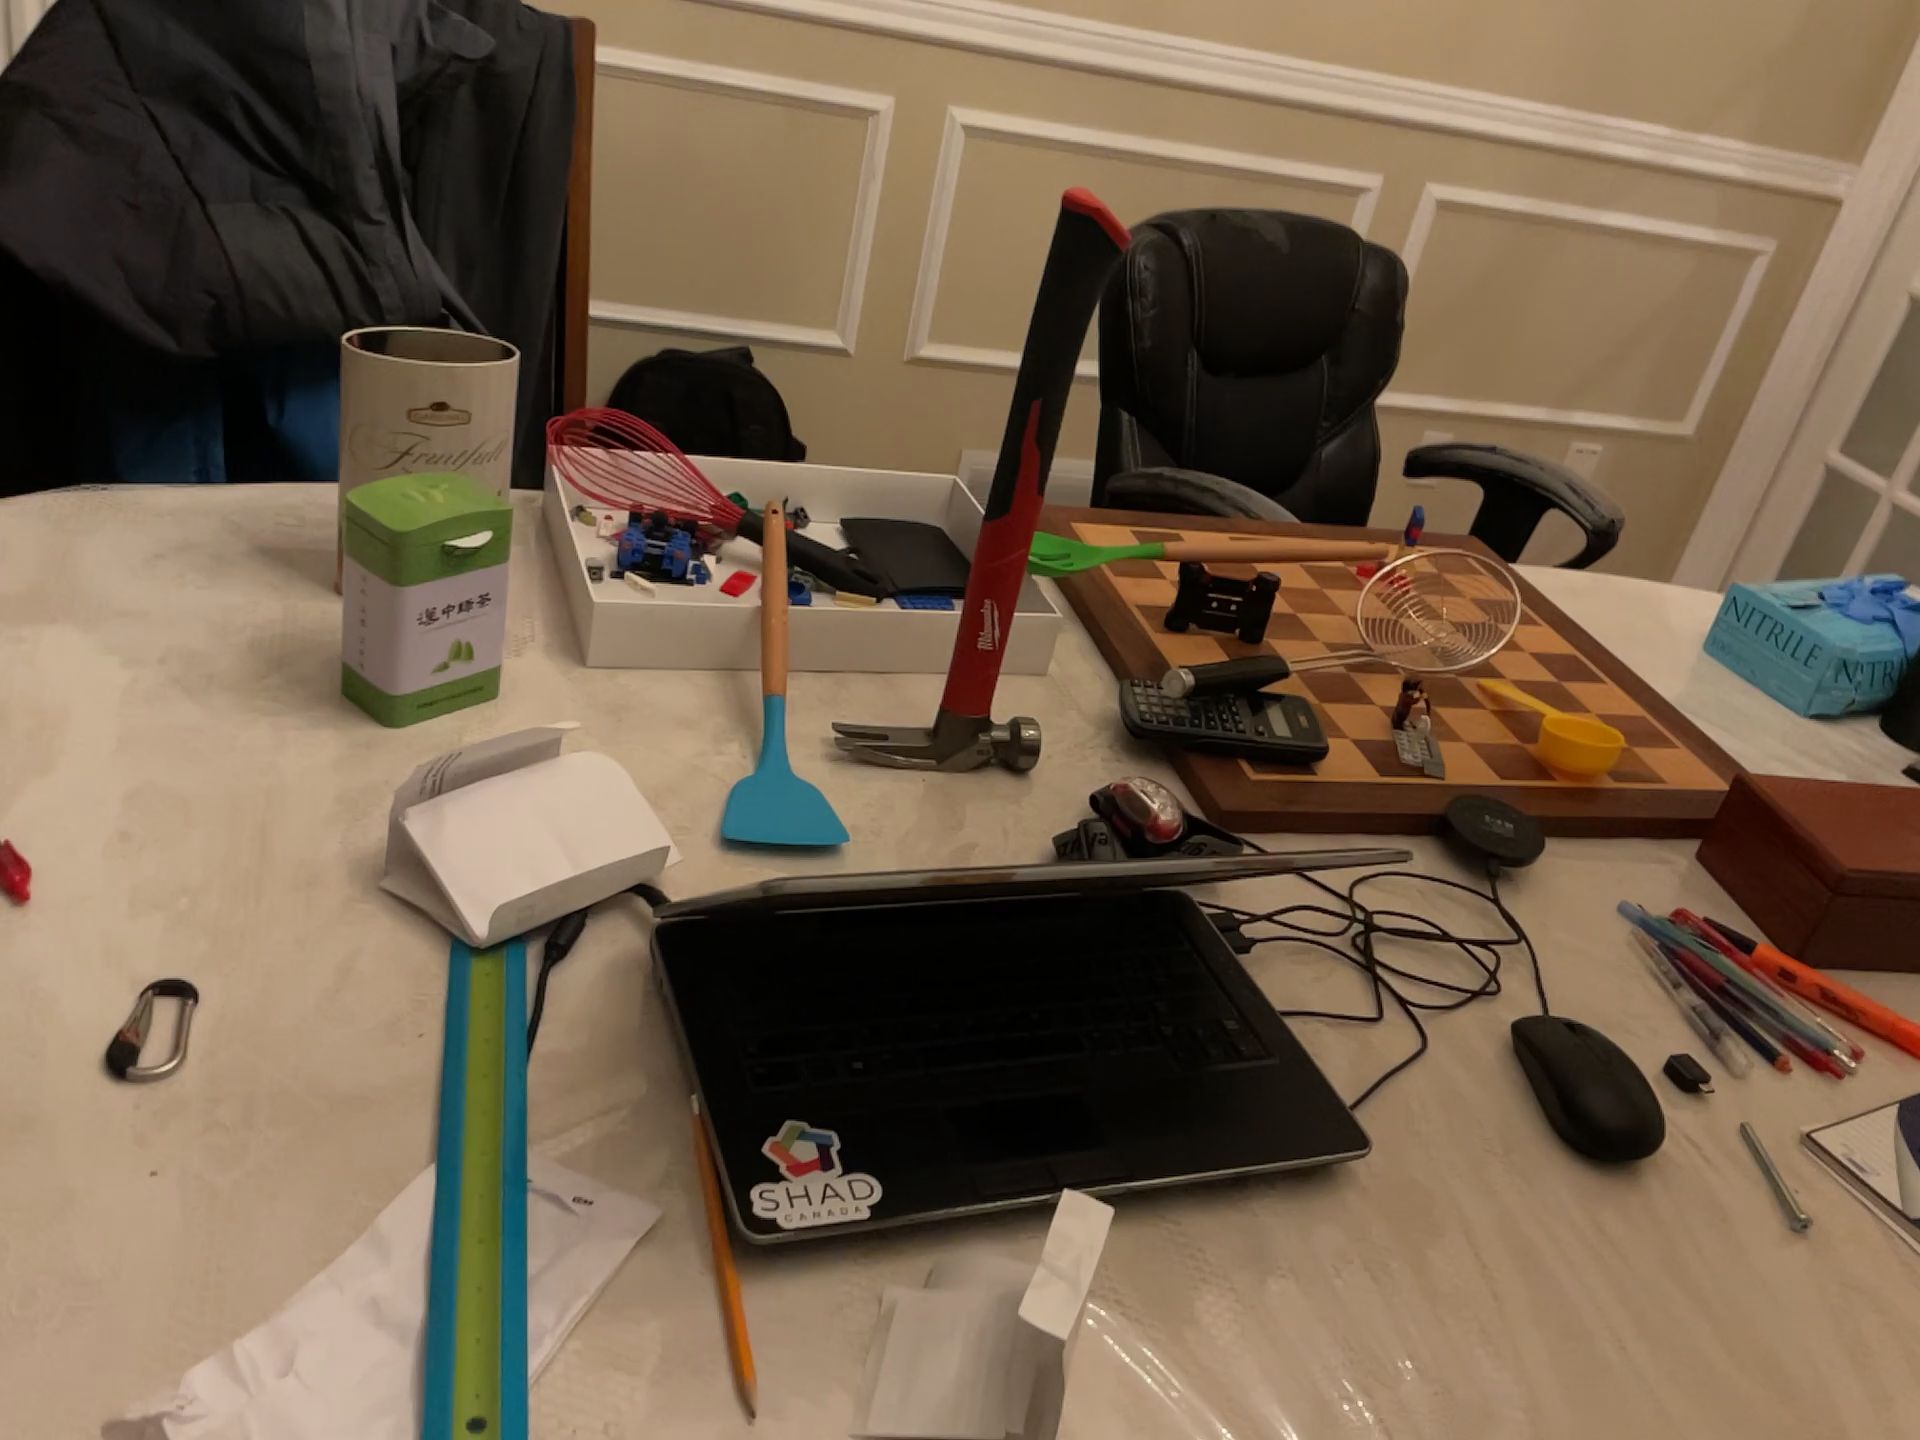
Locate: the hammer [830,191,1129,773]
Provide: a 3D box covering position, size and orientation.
[{"bbox_3d":[0.018,-0.134,0.993,0.143,0.386,0.038,4,31,-16],"label":"hammer"}]

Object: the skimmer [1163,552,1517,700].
[{"bbox_3d":[0.295,-0.072,1.233,0.362,0.090,0.128,-9,38,-40],"label":"skimmer"}]

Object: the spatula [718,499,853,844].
[{"bbox_3d":[-0.122,-0.039,1.064,0.082,0.044,0.318,4,52,-13],"label":"spatula"}]

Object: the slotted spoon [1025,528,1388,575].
[{"bbox_3d":[0.188,-0.134,1.271,0.313,0.031,0.070,0,29,-5],"label":"slotted spoon"}]

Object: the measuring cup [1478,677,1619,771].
[{"bbox_3d":[0.456,0.002,1.258,0.062,0.029,0.157,-1,20,-17],"label":"measuring cup"}]

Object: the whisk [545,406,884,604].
[{"bbox_3d":[-0.193,-0.166,1.262,0.296,0.073,0.073,27,48,-3],"label":"whisk"}]
